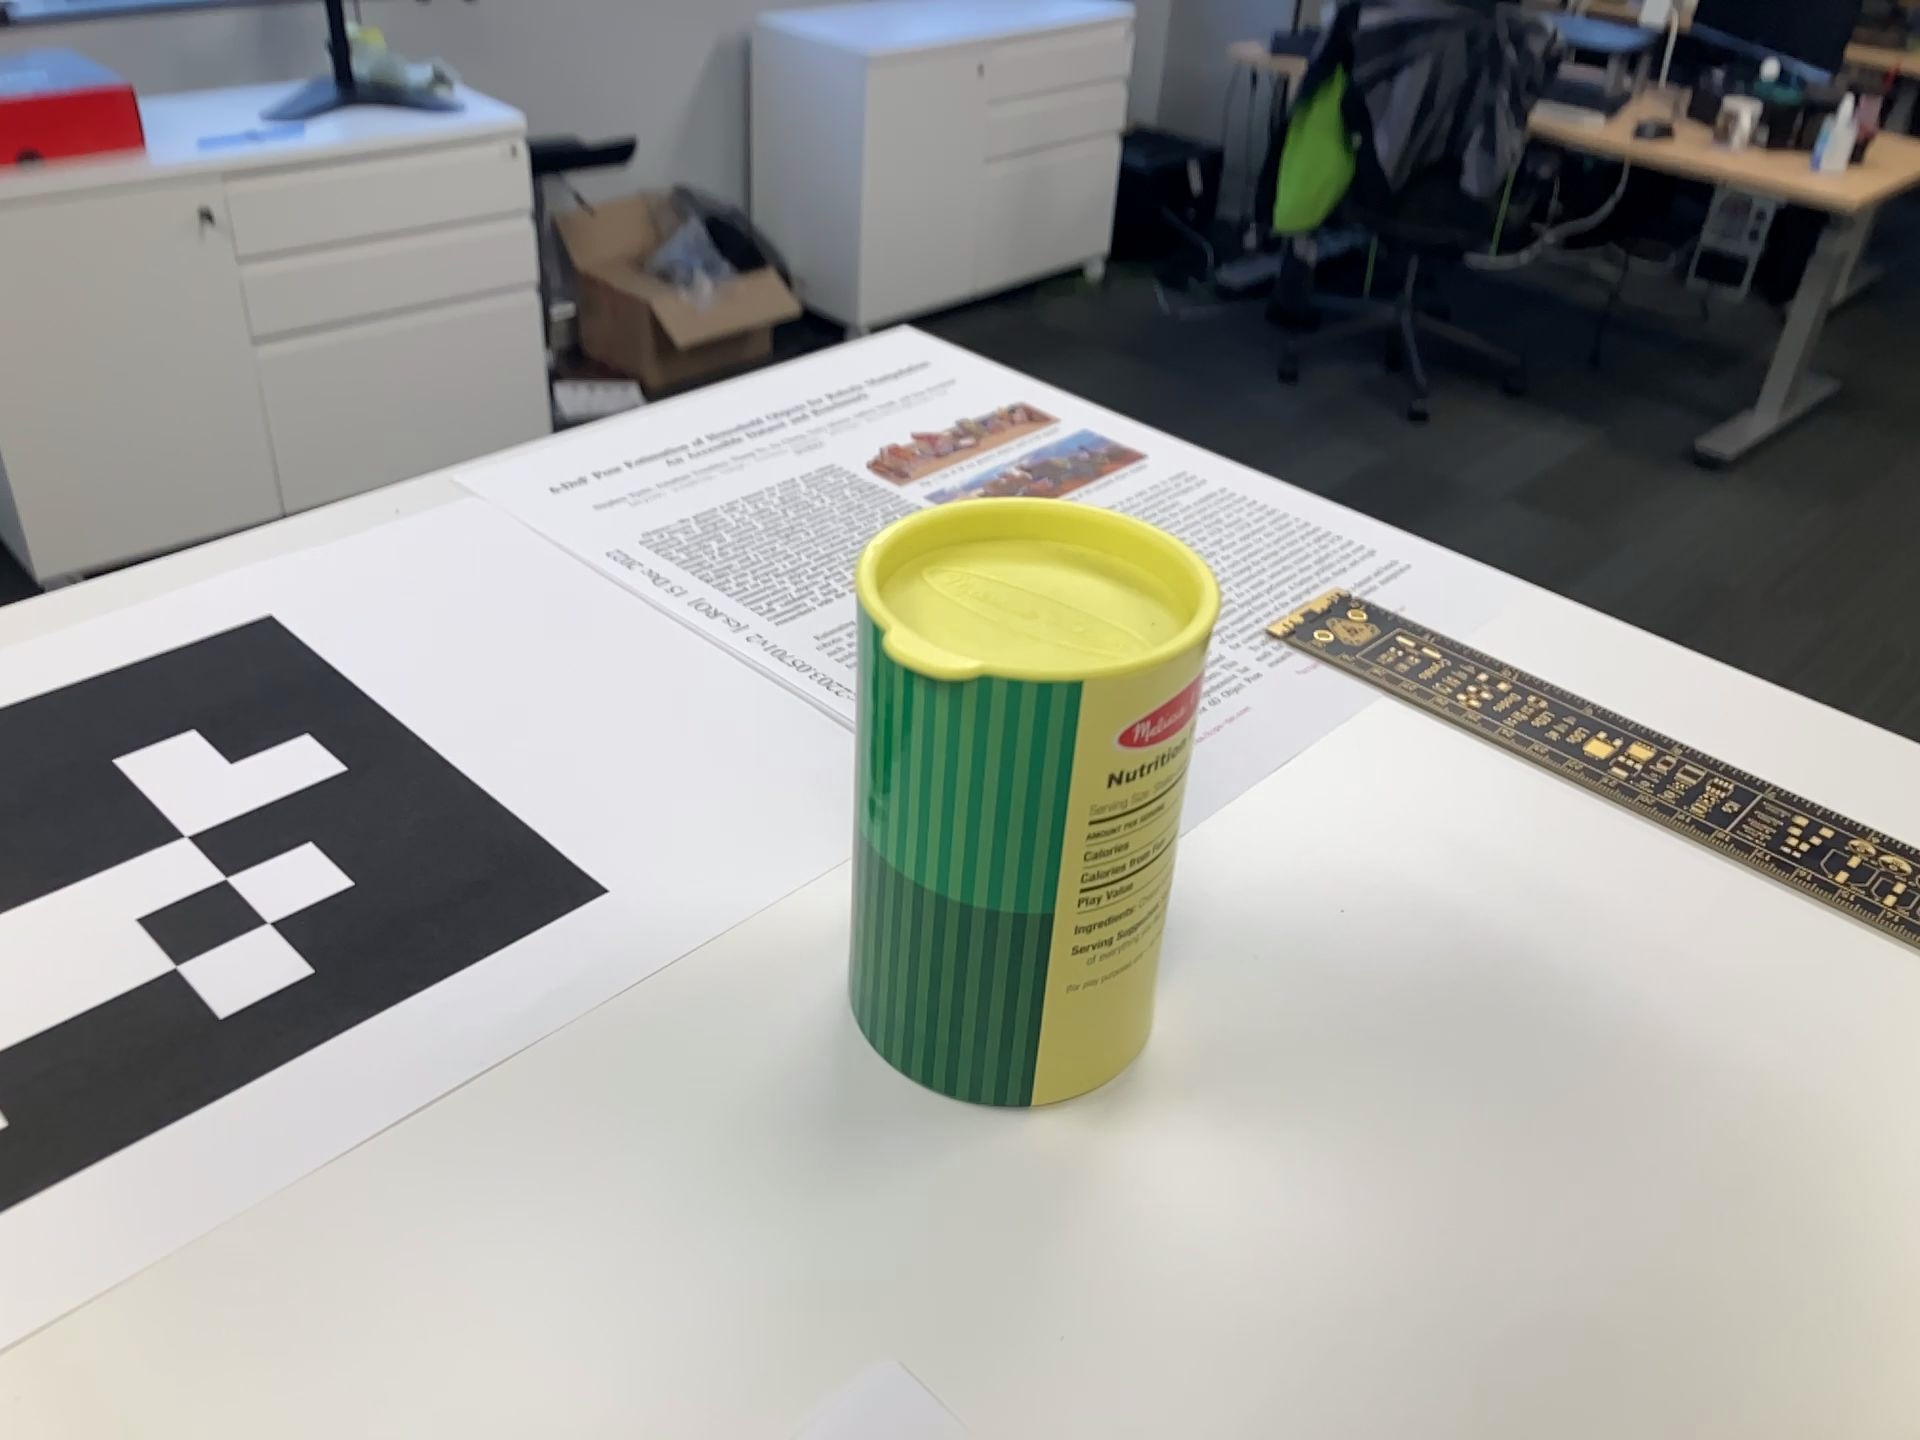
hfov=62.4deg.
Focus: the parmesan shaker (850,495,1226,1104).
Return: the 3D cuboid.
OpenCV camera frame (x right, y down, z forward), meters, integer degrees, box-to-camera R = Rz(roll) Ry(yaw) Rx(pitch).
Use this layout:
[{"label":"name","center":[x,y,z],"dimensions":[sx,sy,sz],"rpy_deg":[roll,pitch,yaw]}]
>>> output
[{"label":"parmesan shaker","center":[0.010,0.017,0.311],"dimensions":[0.071,0.103,0.071],"rpy_deg":[3,33,-2]}]
